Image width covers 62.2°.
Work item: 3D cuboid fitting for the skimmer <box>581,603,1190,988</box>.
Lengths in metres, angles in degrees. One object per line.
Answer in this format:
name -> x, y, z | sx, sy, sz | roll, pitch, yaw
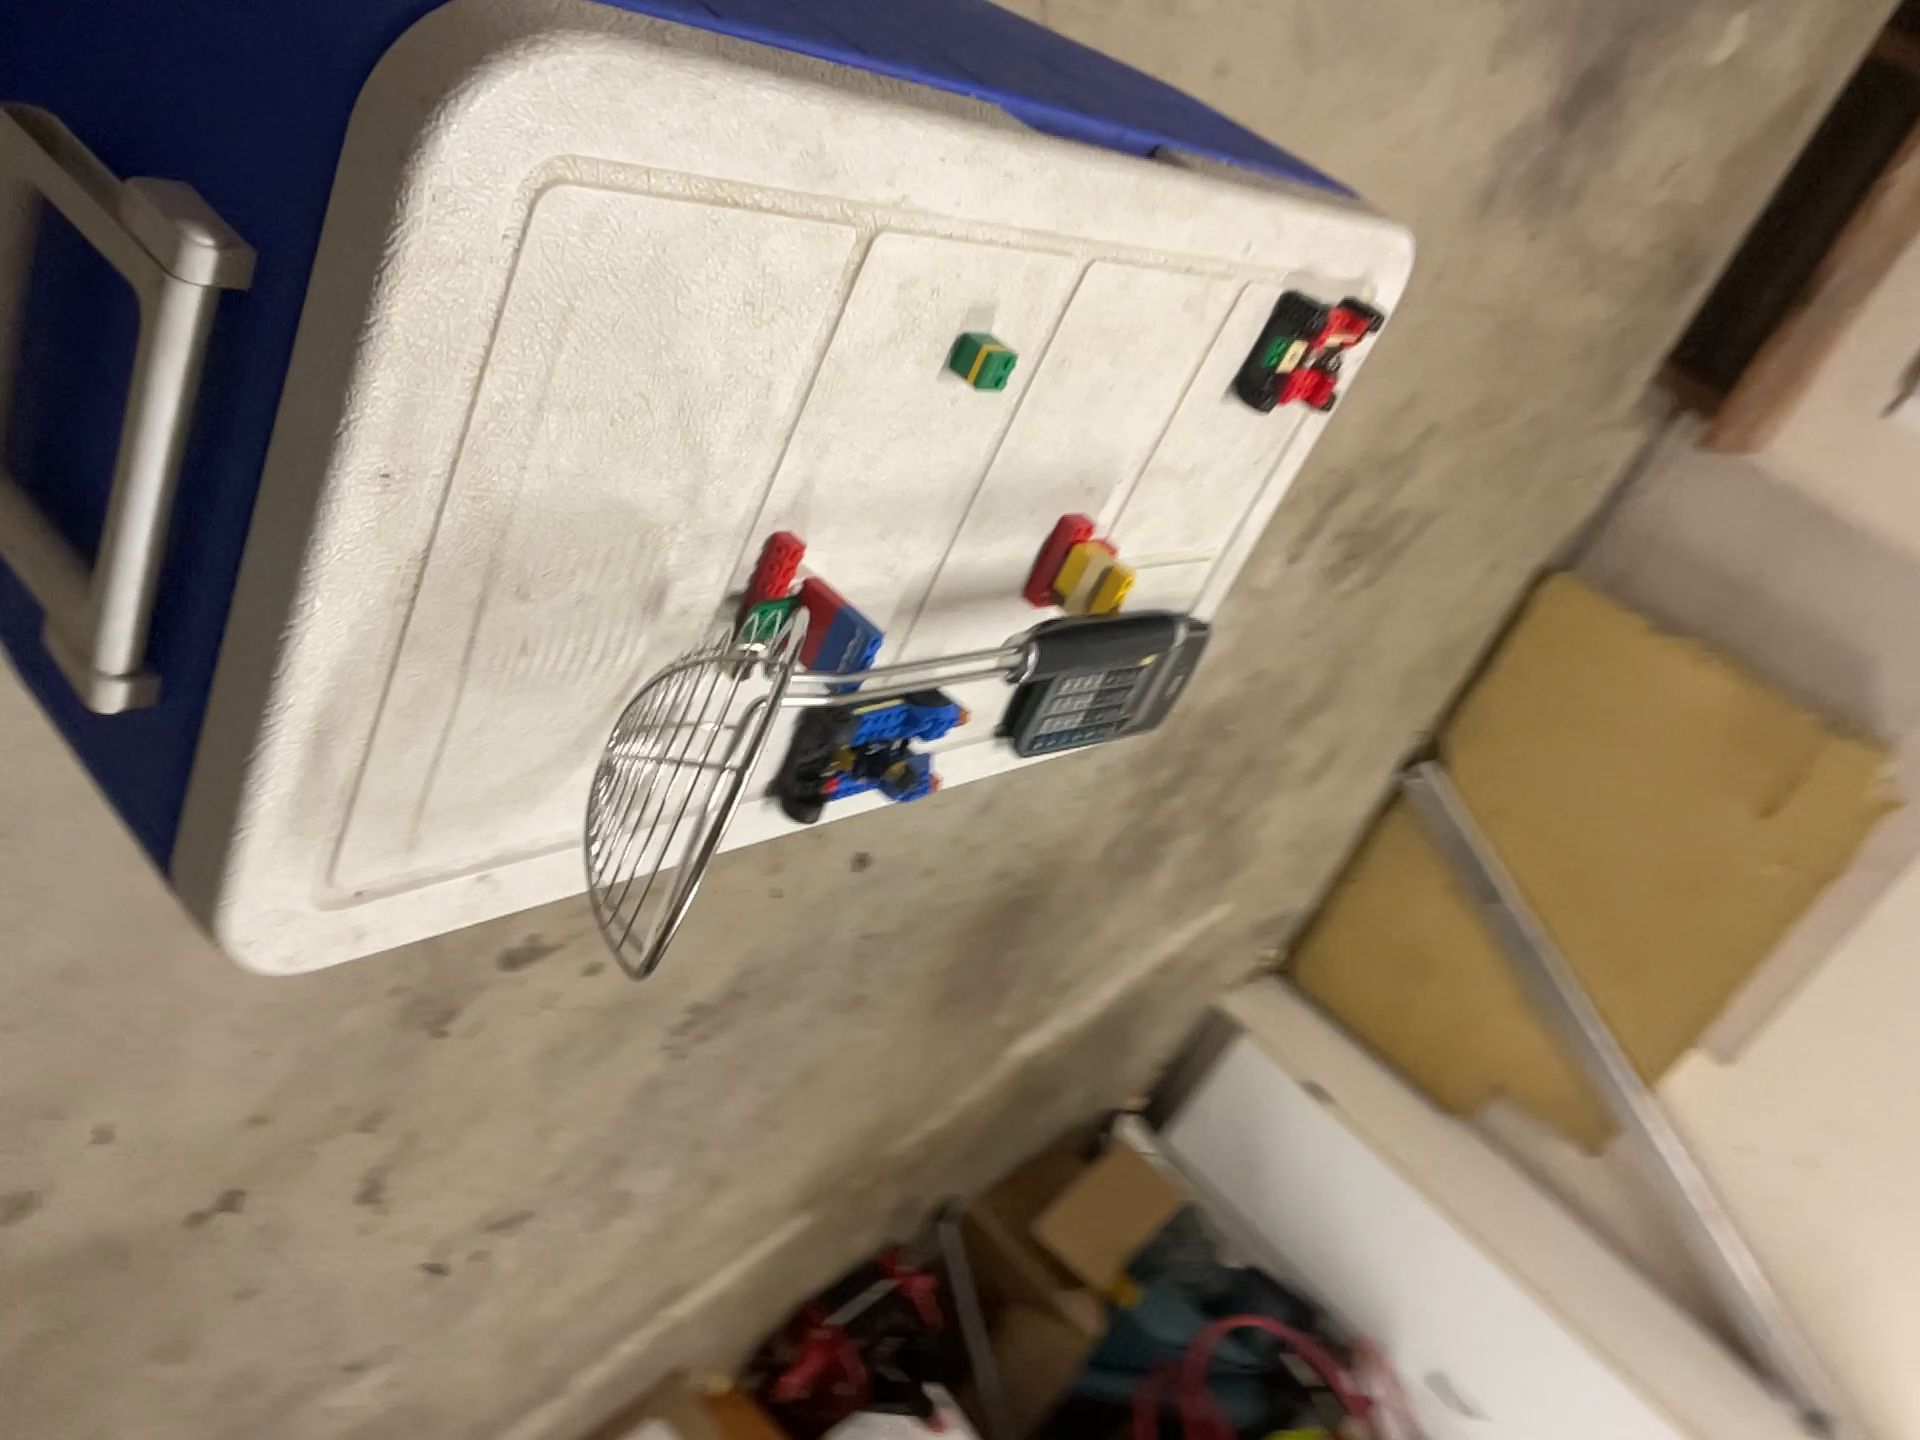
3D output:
skimmer -> 0.005, 0.002, 0.600 | 0.363, 0.090, 0.127 | -13, 140, -50
